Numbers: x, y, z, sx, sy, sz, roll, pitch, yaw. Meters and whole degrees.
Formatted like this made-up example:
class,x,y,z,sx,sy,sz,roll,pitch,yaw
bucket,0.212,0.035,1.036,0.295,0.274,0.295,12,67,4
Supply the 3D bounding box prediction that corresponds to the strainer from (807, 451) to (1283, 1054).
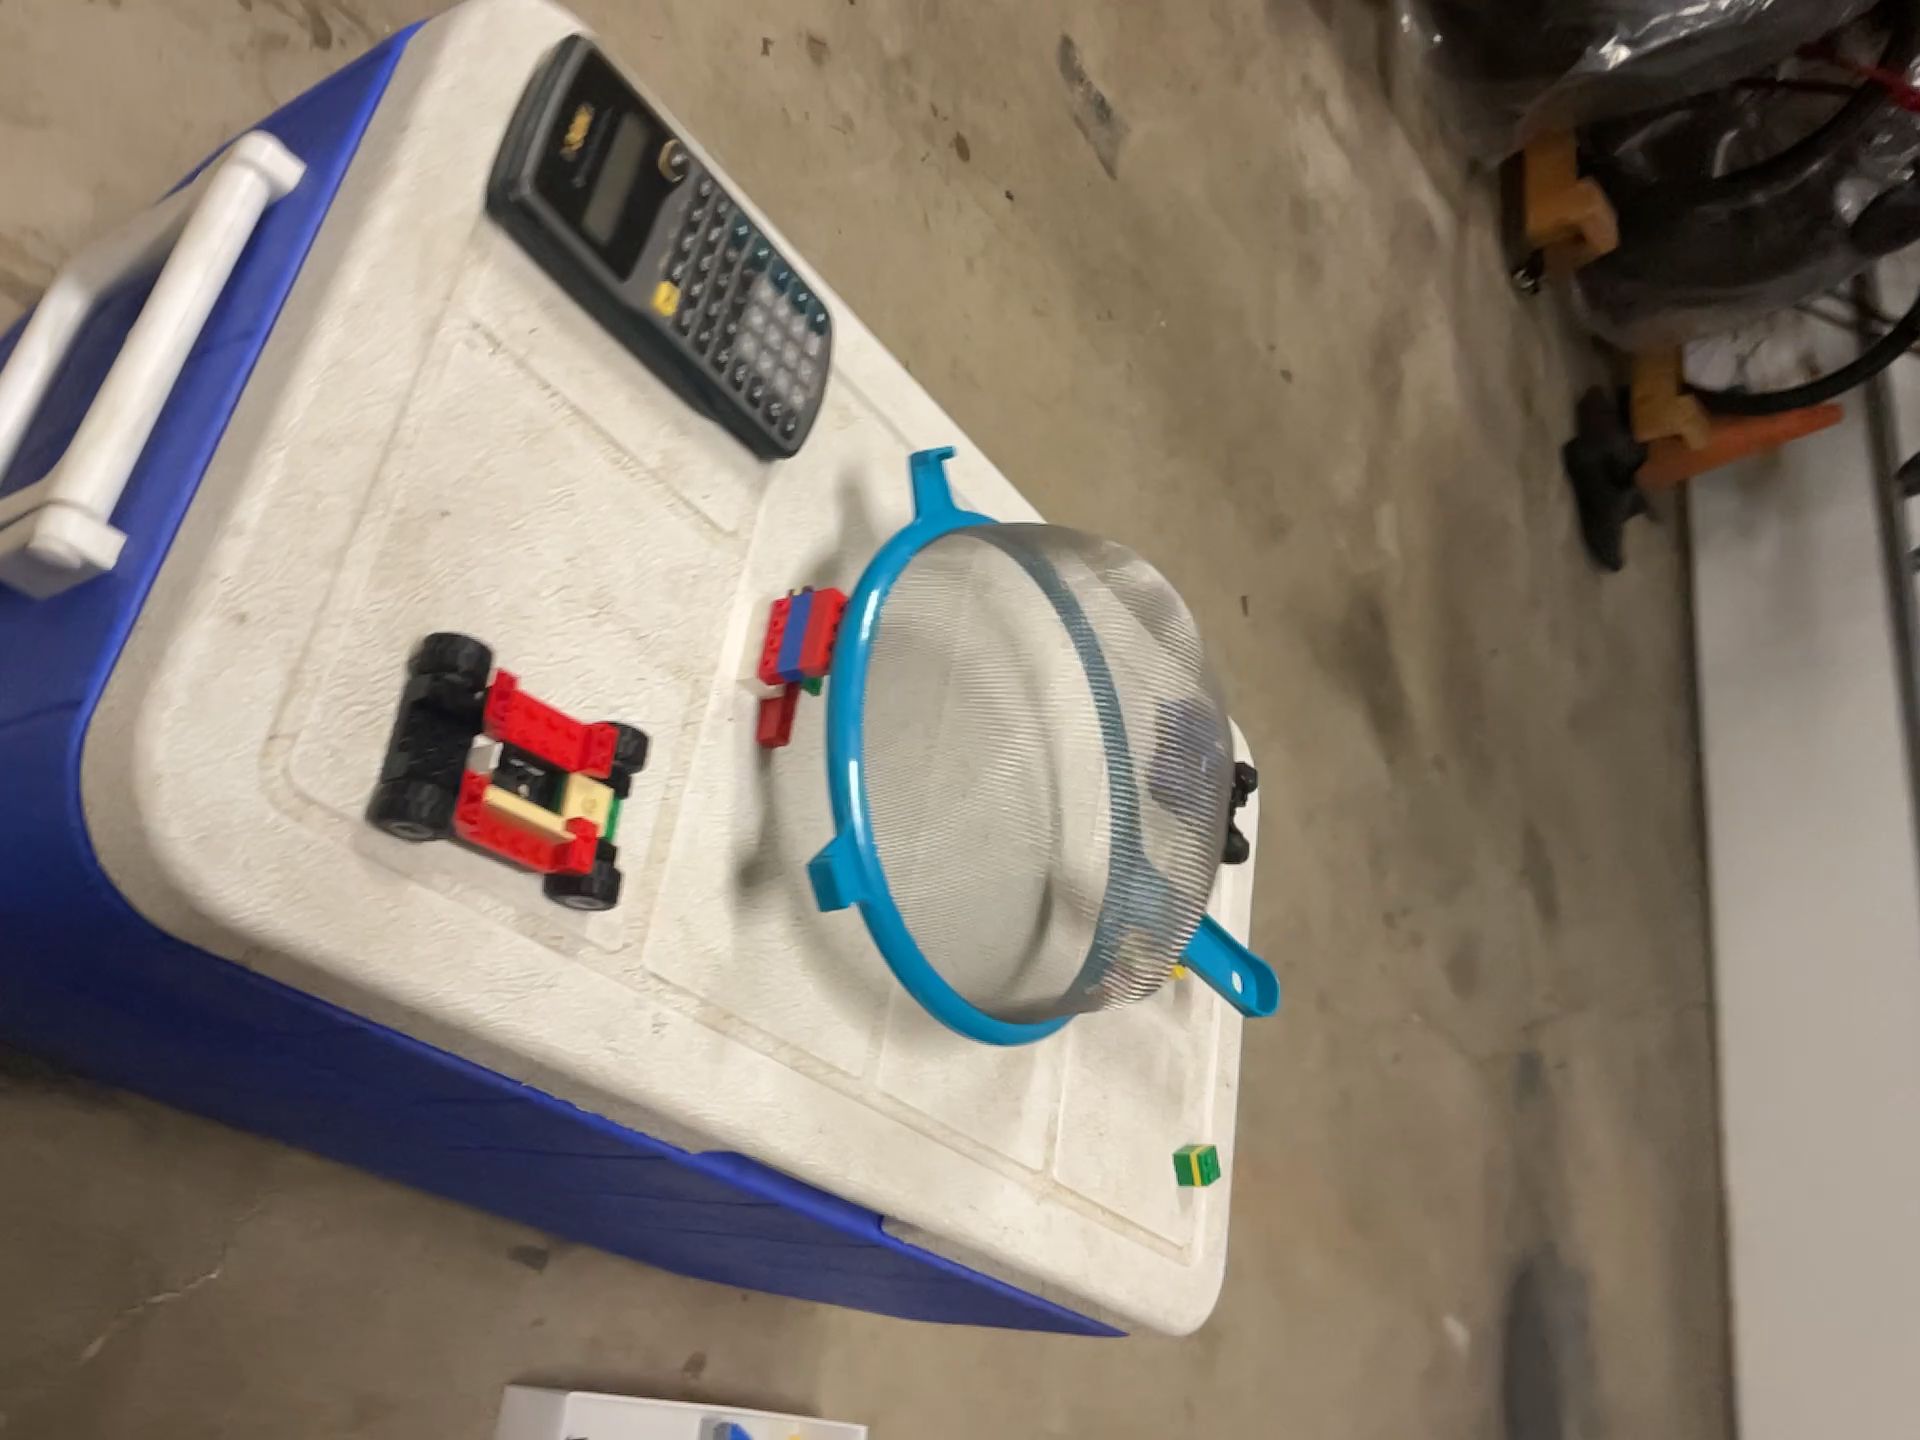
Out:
class,x,y,z,sx,sy,sz,roll,pitch,yaw
strainer,0.085,0.049,0.648,0.340,0.095,0.211,41,50,-42
